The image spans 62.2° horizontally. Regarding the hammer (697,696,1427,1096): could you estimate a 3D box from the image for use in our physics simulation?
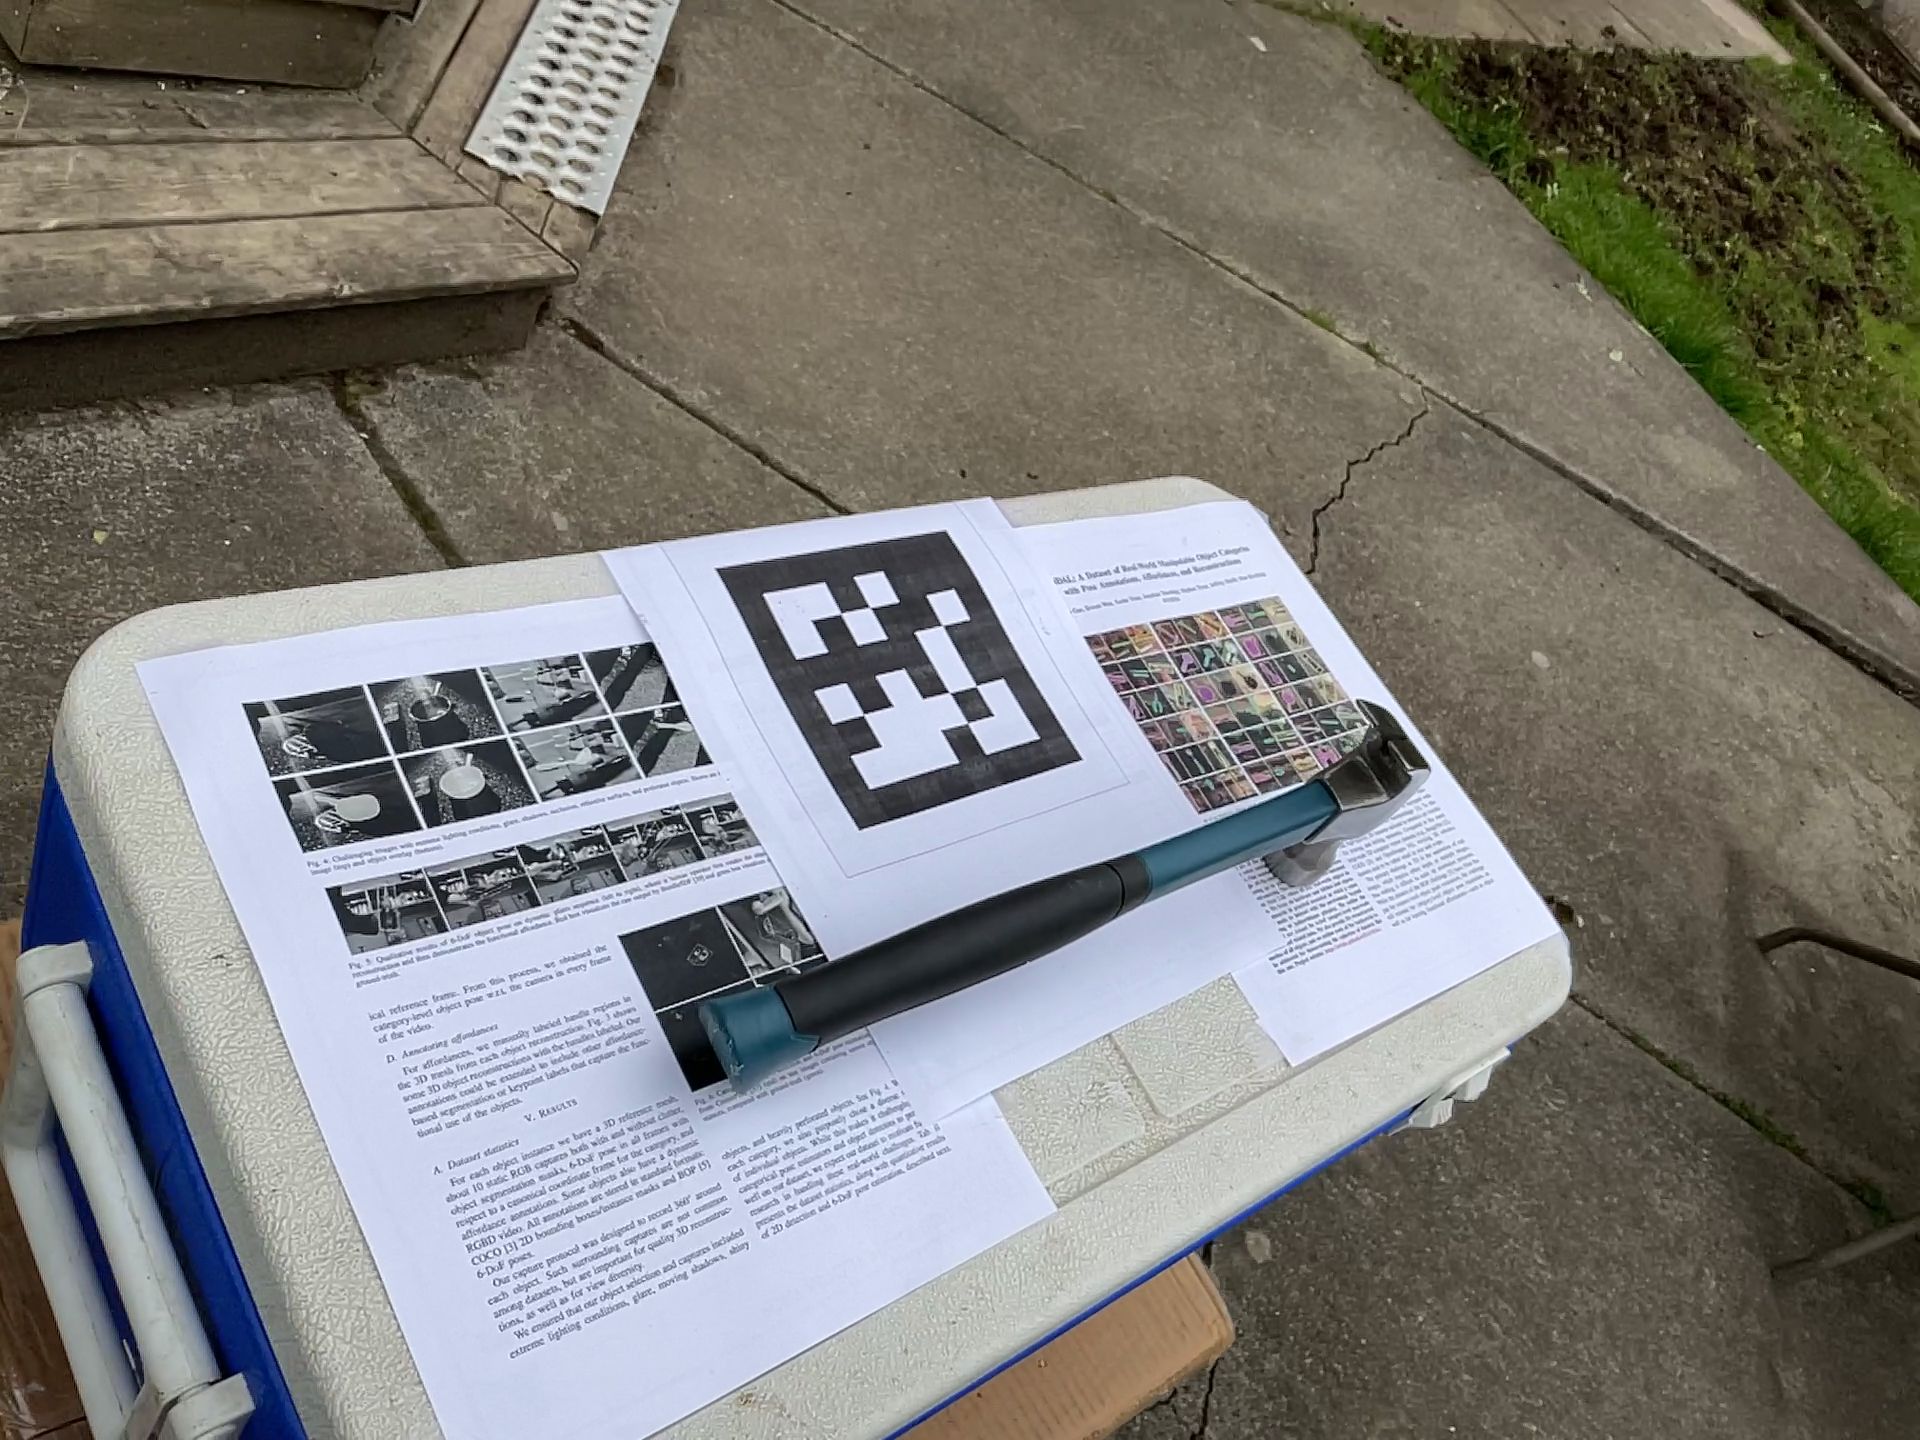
[{"bbox_3d":[0.052,0.066,0.593,0.331,0.128,0.033,-17,64,-34],"label":"hammer"}]
